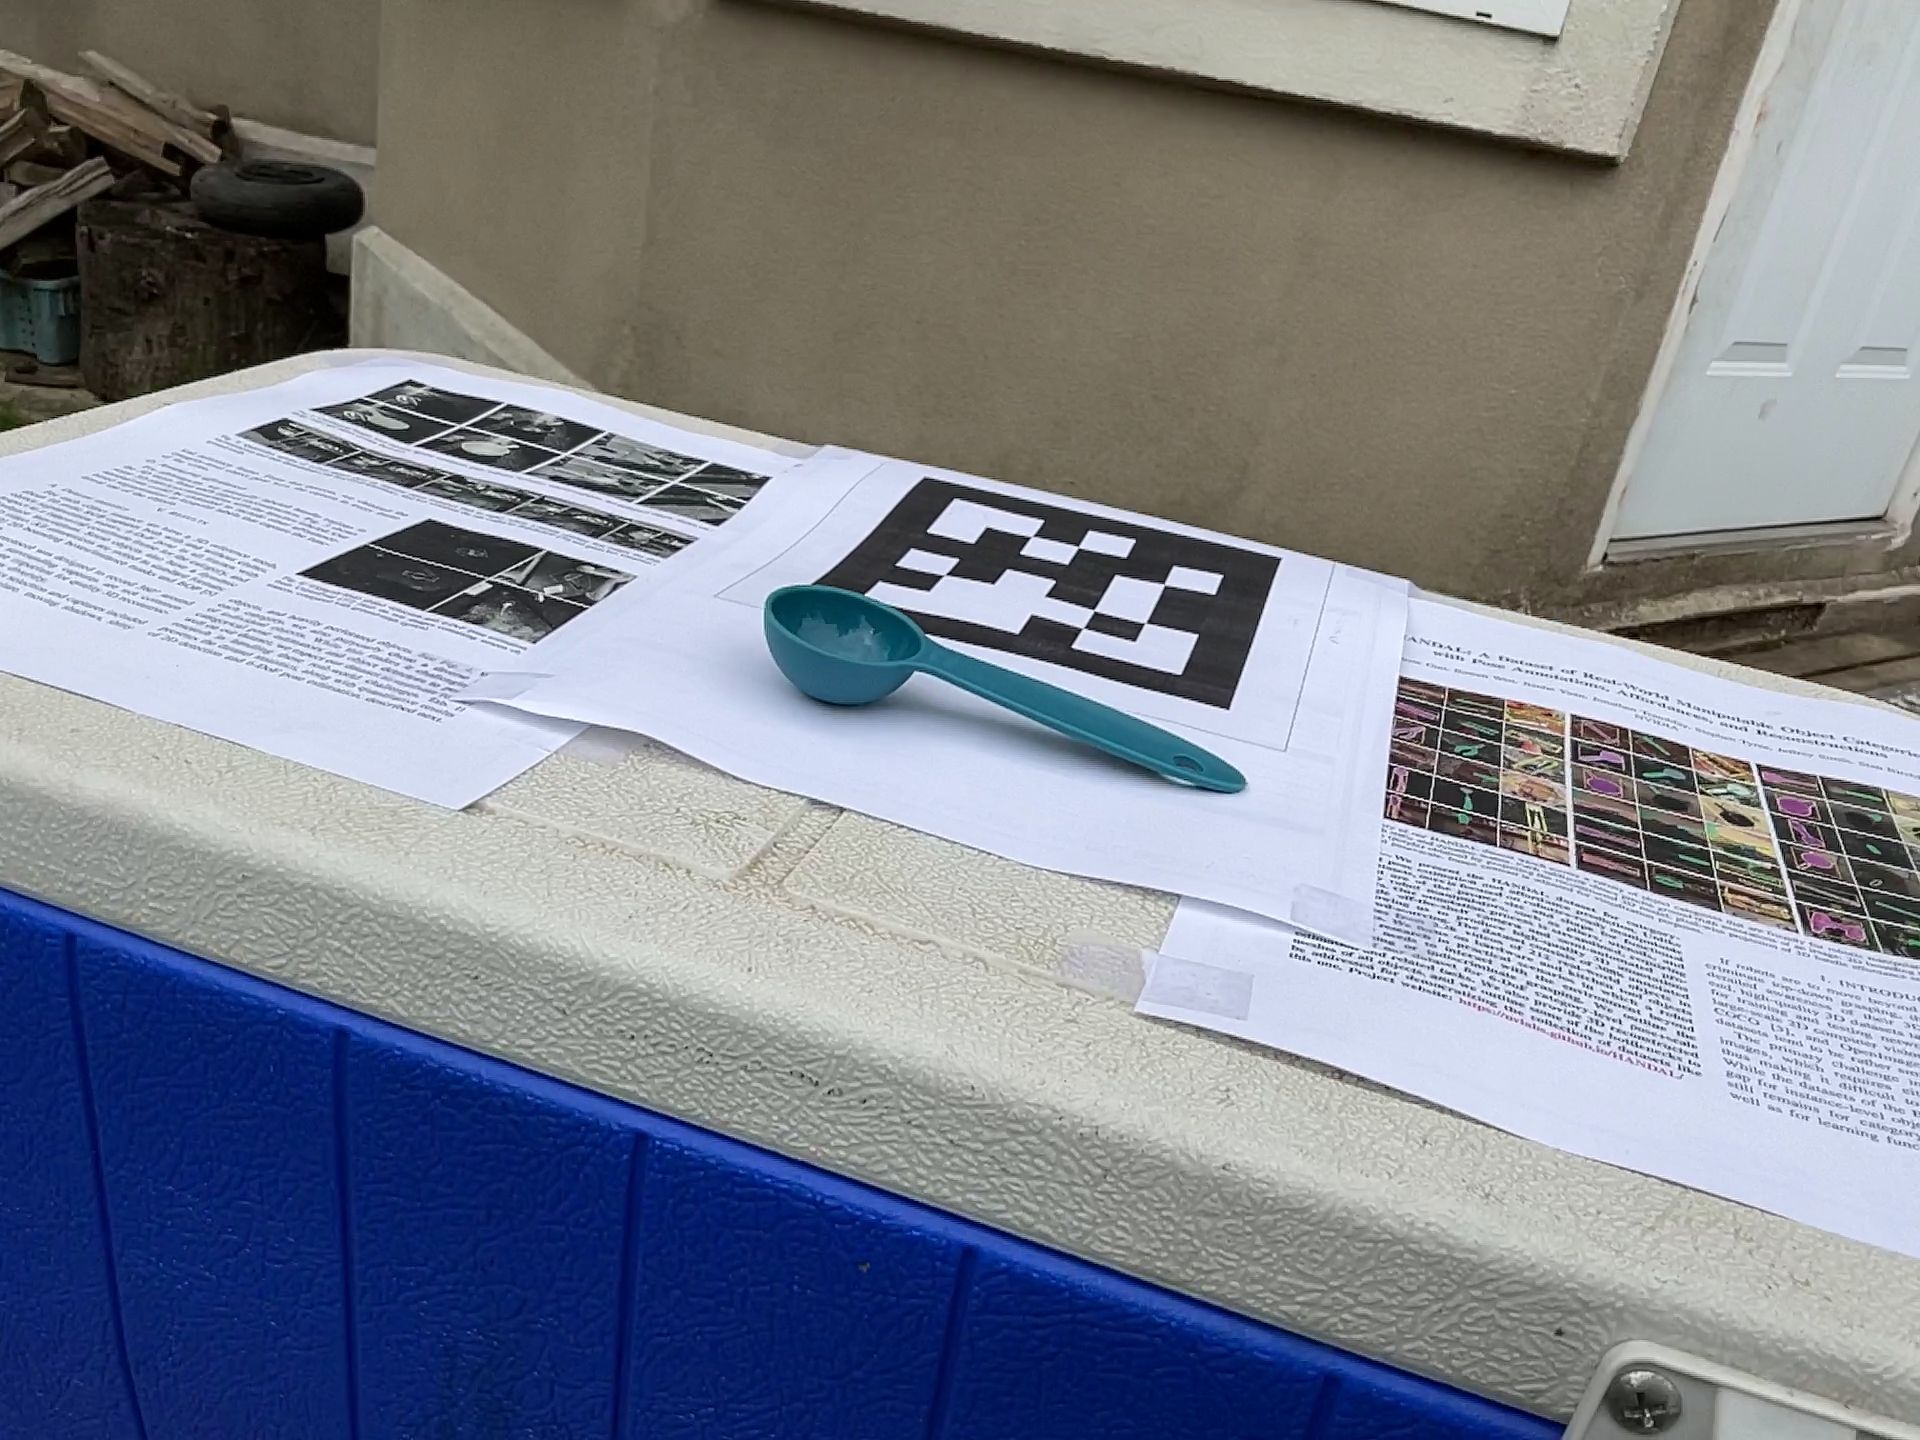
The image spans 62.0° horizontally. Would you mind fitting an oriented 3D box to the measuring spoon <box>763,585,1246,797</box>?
[{"bbox_3d":[0.009,0.000,0.404,0.128,0.021,0.042,22,26,4],"label":"measuring spoon"}]
